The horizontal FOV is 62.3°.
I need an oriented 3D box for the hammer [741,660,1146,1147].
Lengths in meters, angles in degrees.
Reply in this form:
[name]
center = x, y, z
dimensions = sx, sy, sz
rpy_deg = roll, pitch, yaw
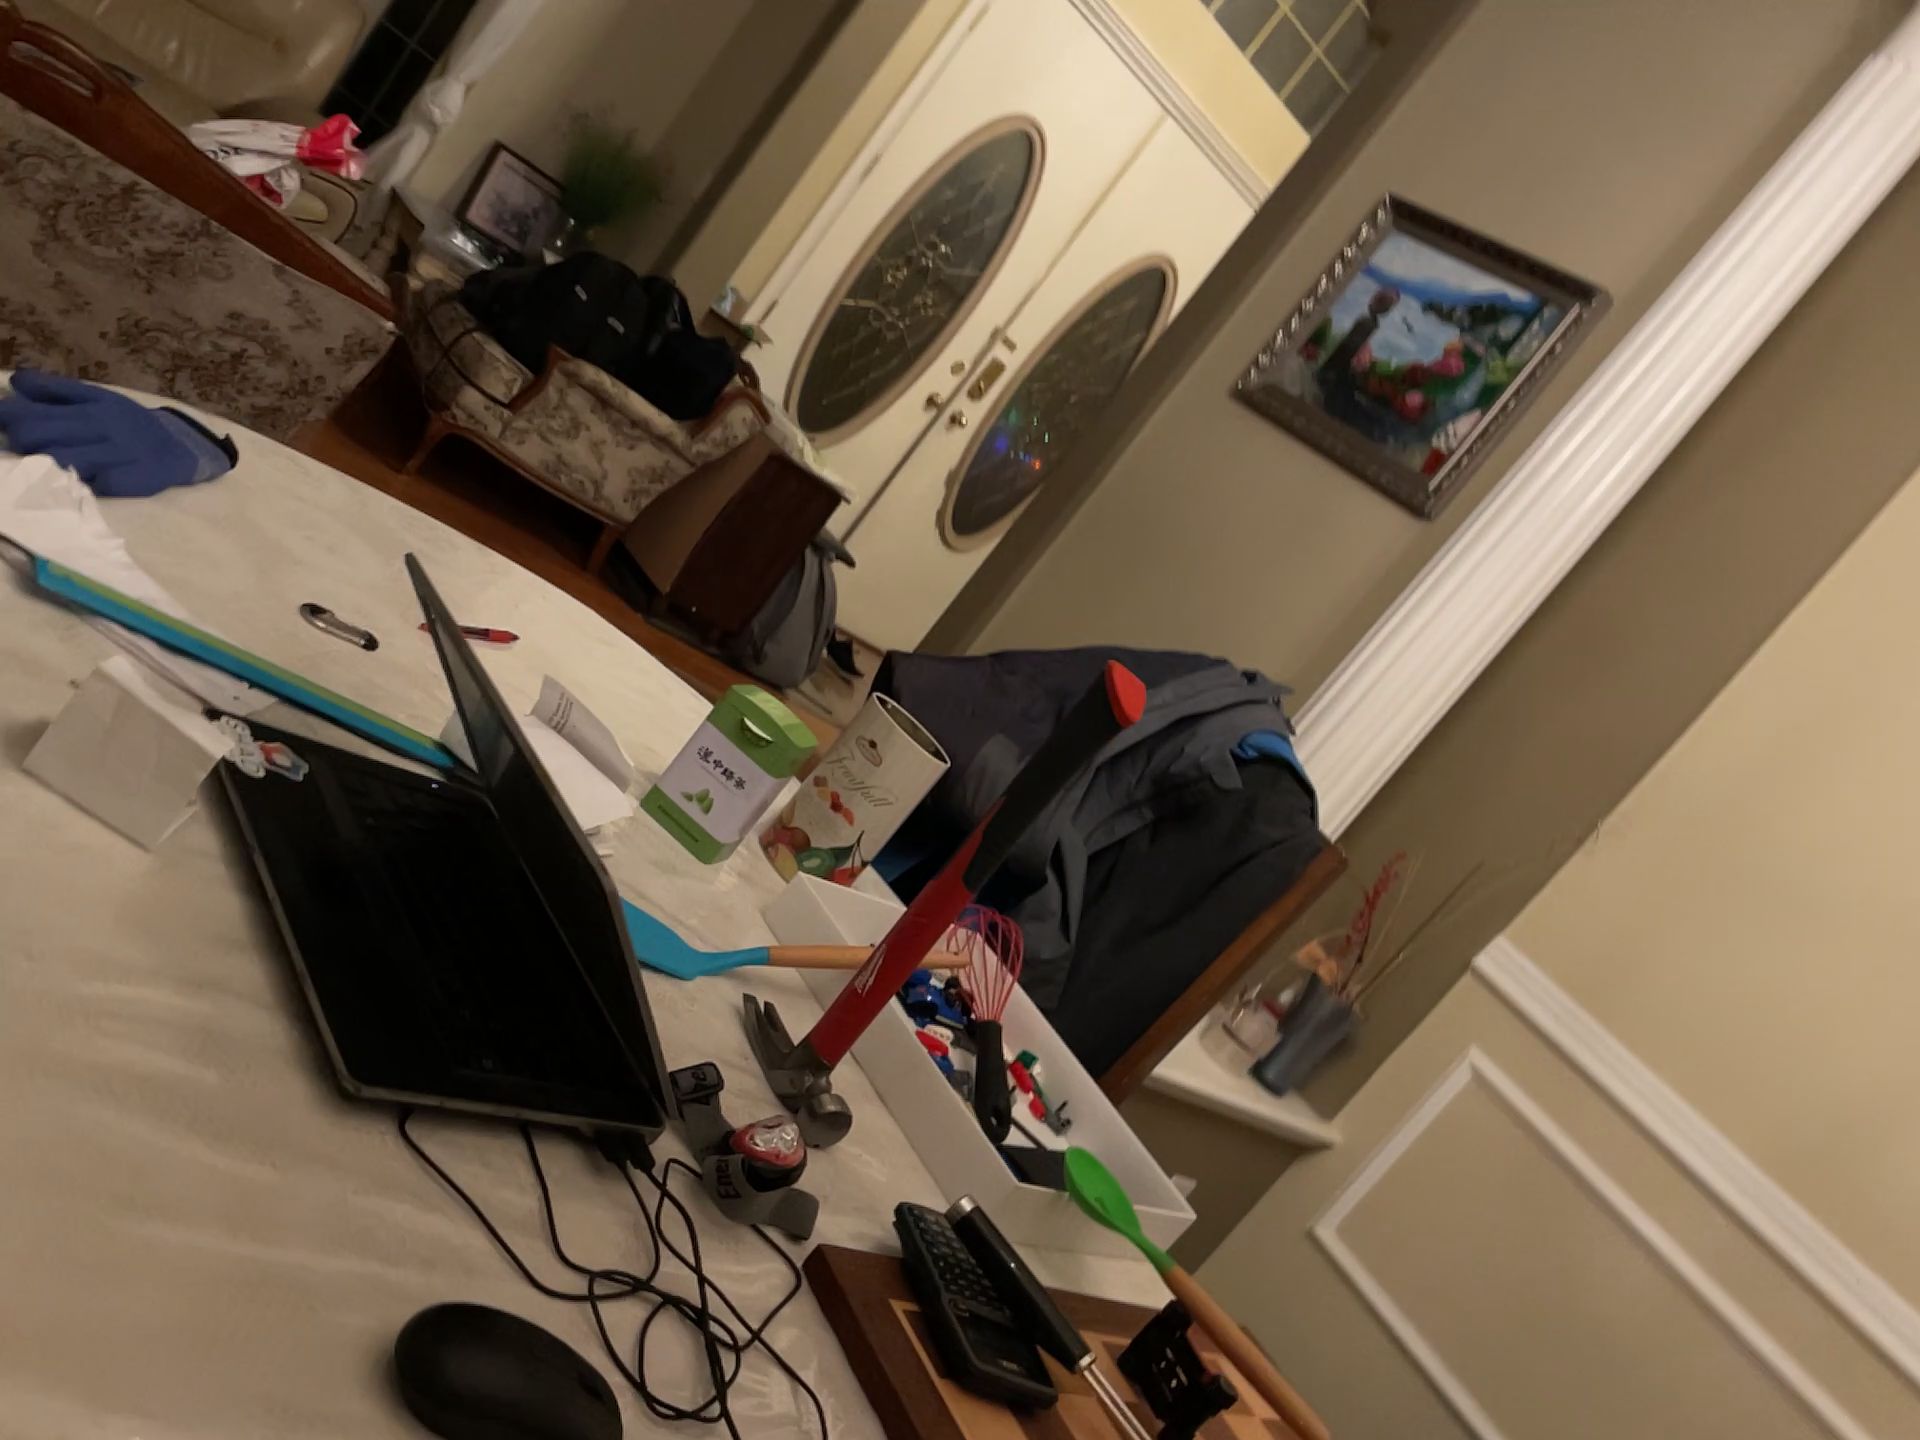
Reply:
[hammer]
center = -0.012, 0.108, 1.106
dimensions = 0.038, 0.386, 0.143
rpy_deg = 30, 14, -41

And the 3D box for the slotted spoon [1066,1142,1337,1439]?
[slotted spoon]
center = 0.156, 0.387, 1.072
dimensions = 0.070, 0.031, 0.314
rpy_deg = 34, 2, -33

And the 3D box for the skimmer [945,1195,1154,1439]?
[skimmer]
center = 0.133, 0.414, 0.948
dimensions = 0.364, 0.090, 0.127
rpy_deg = 47, 14, 21

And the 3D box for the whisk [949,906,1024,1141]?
[whisk]
center = 0.025, 0.262, 1.411
dimensions = 0.073, 0.073, 0.296
rpy_deg = 18, 29, -10

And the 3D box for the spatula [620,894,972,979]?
[spatula]
center = -0.124, 0.176, 1.236
dimensions = 0.317, 0.044, 0.082
rpy_deg = 7, 25, -31
